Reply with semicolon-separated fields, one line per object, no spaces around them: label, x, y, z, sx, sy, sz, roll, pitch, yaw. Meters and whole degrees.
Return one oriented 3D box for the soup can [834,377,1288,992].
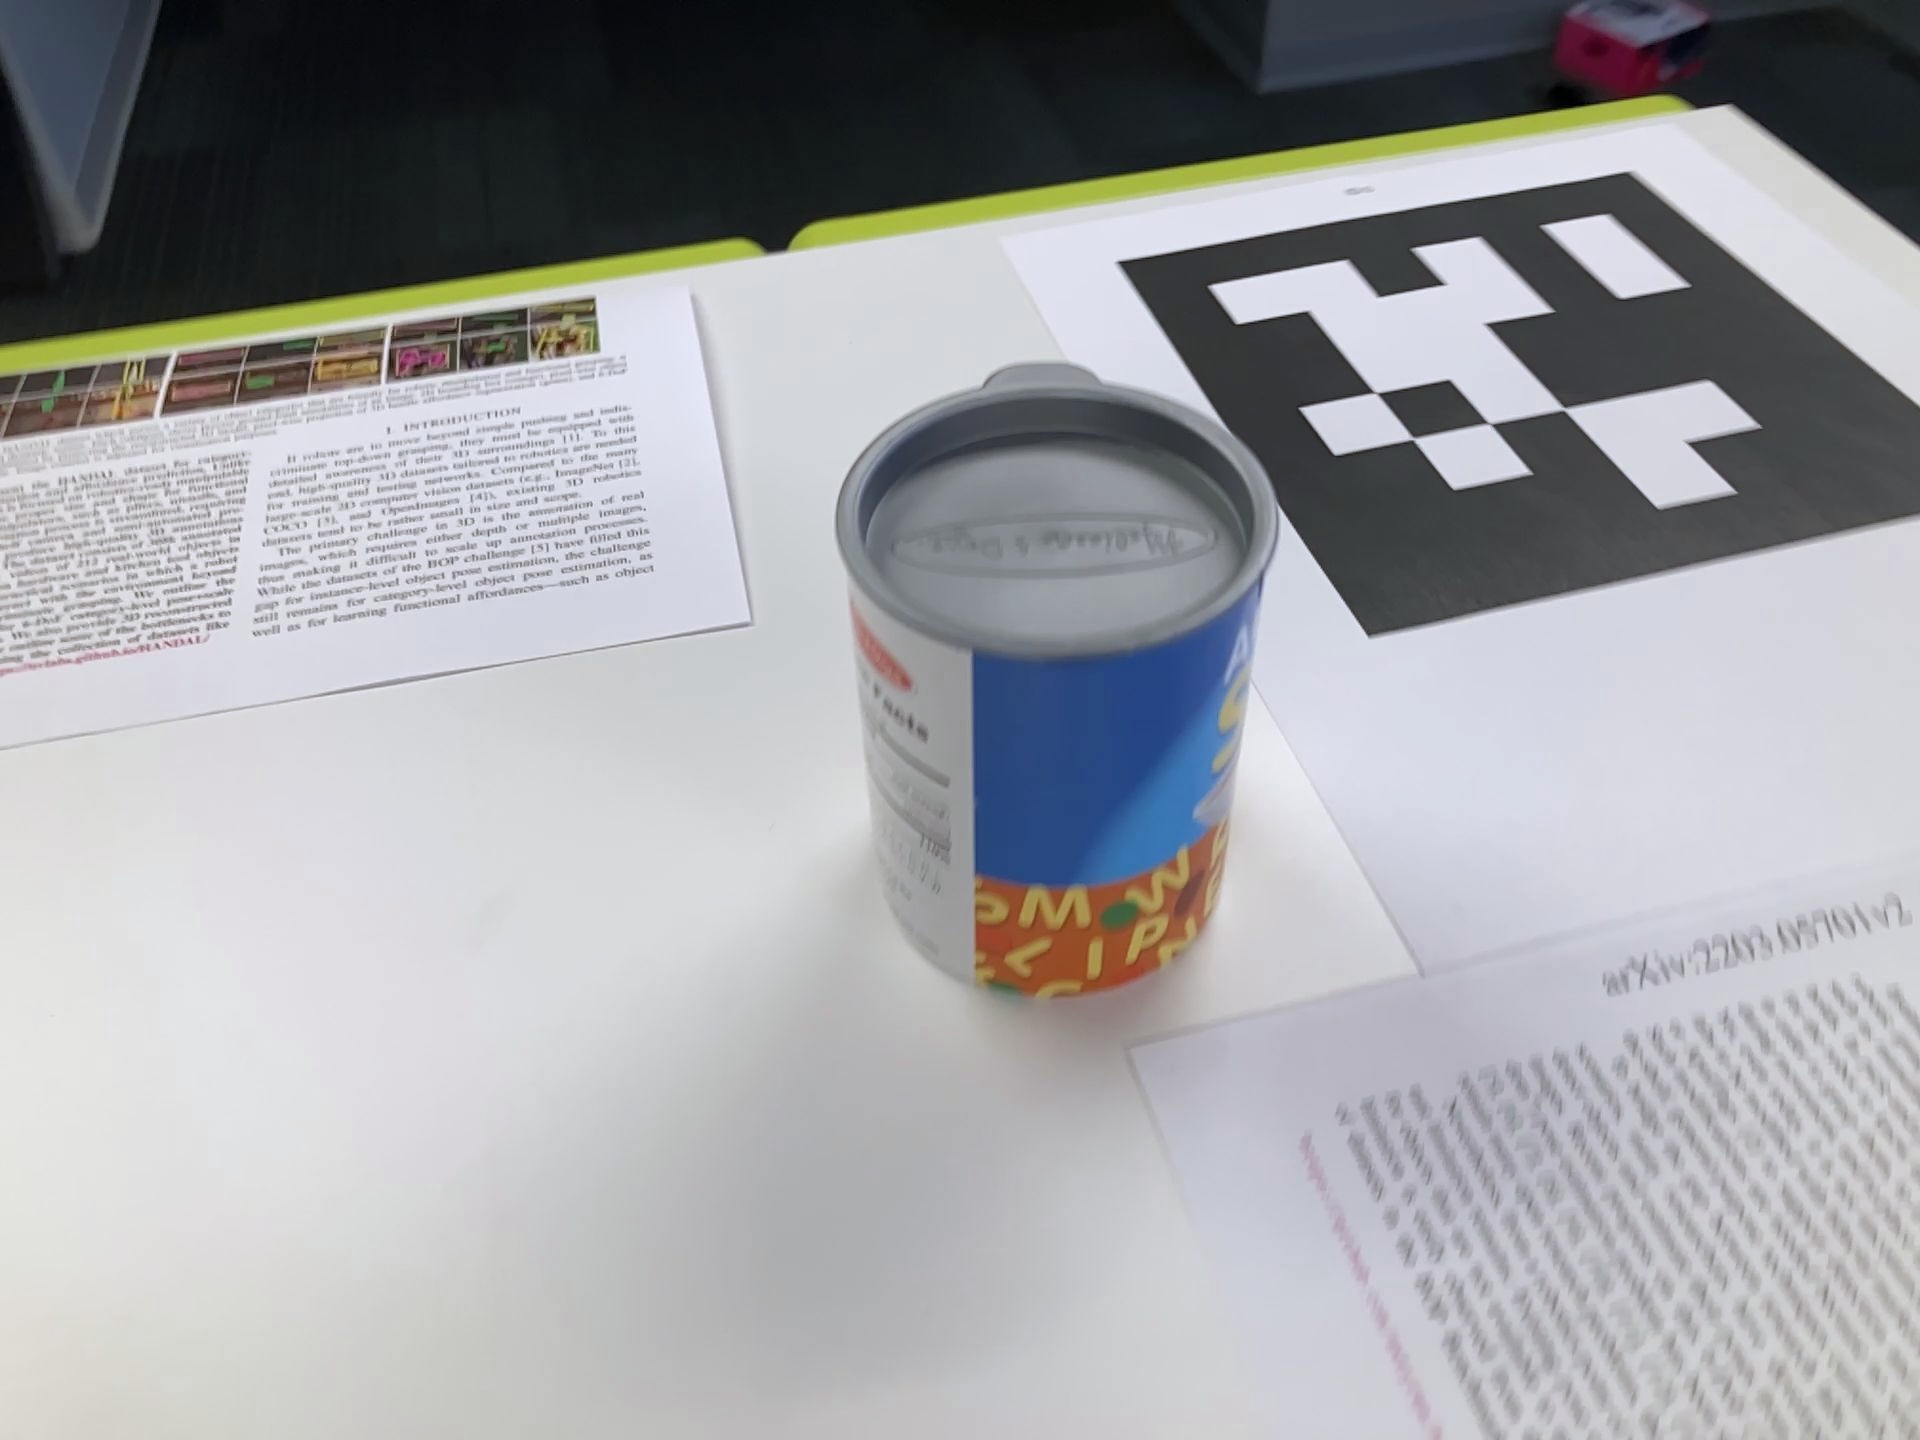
soup can;0.018;-0.005;0.269;0.071;0.084;0.071;-1;46;1
